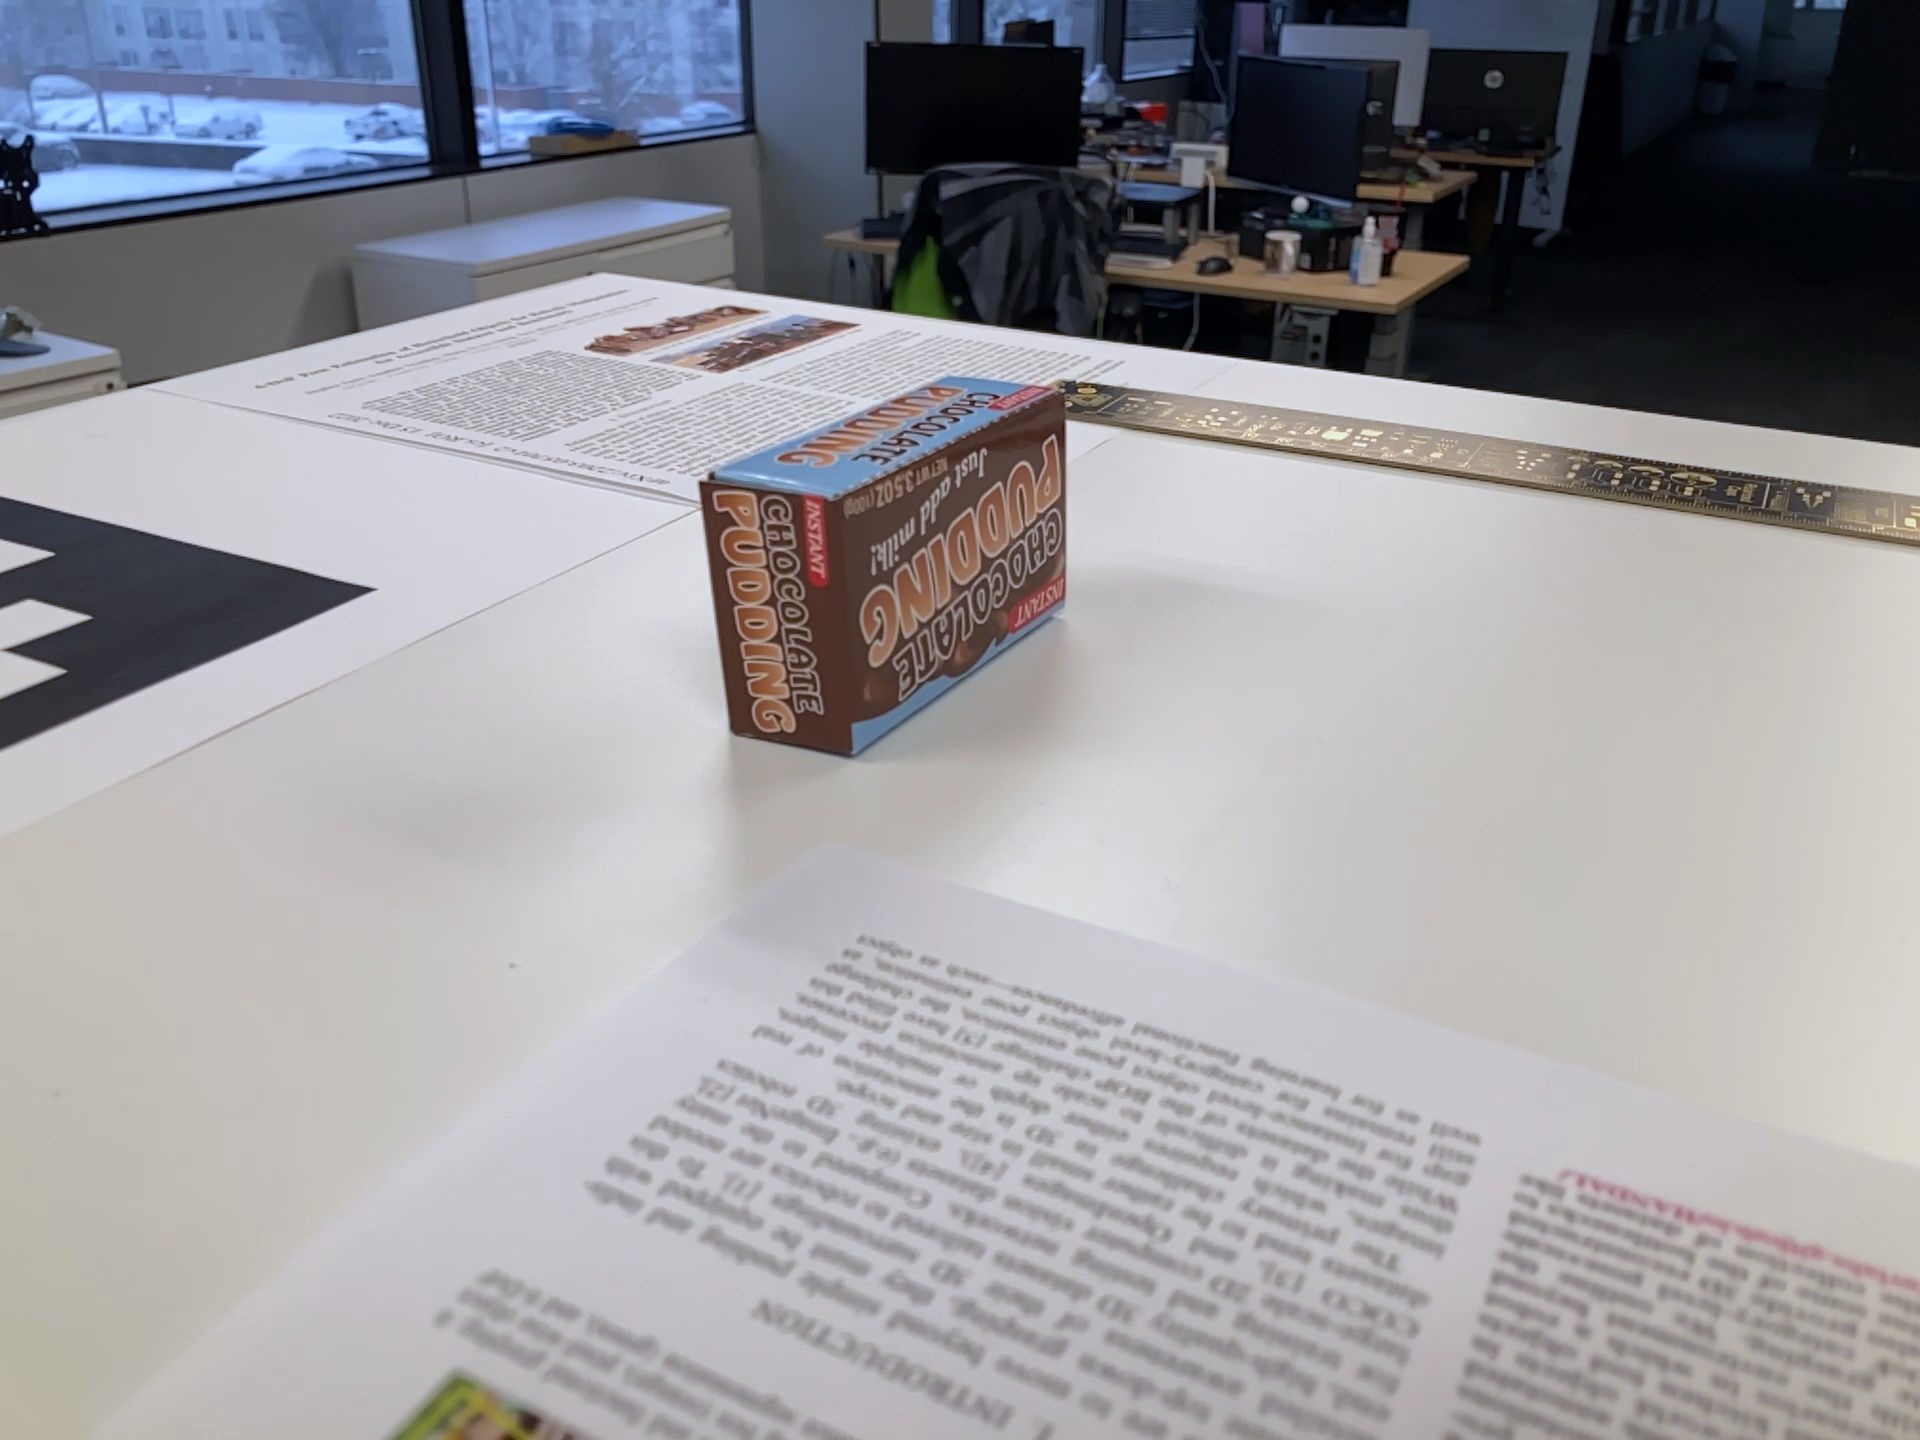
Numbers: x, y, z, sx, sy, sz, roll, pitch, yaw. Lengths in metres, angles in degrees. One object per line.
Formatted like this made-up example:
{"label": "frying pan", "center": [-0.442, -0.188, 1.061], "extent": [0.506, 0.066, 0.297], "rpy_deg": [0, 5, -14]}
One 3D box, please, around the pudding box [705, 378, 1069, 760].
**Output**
{"label": "pudding box", "center": [-0.010, -0.032, 0.302], "extent": [0.030, 0.049, 0.083], "rpy_deg": [12, 28, 28]}
